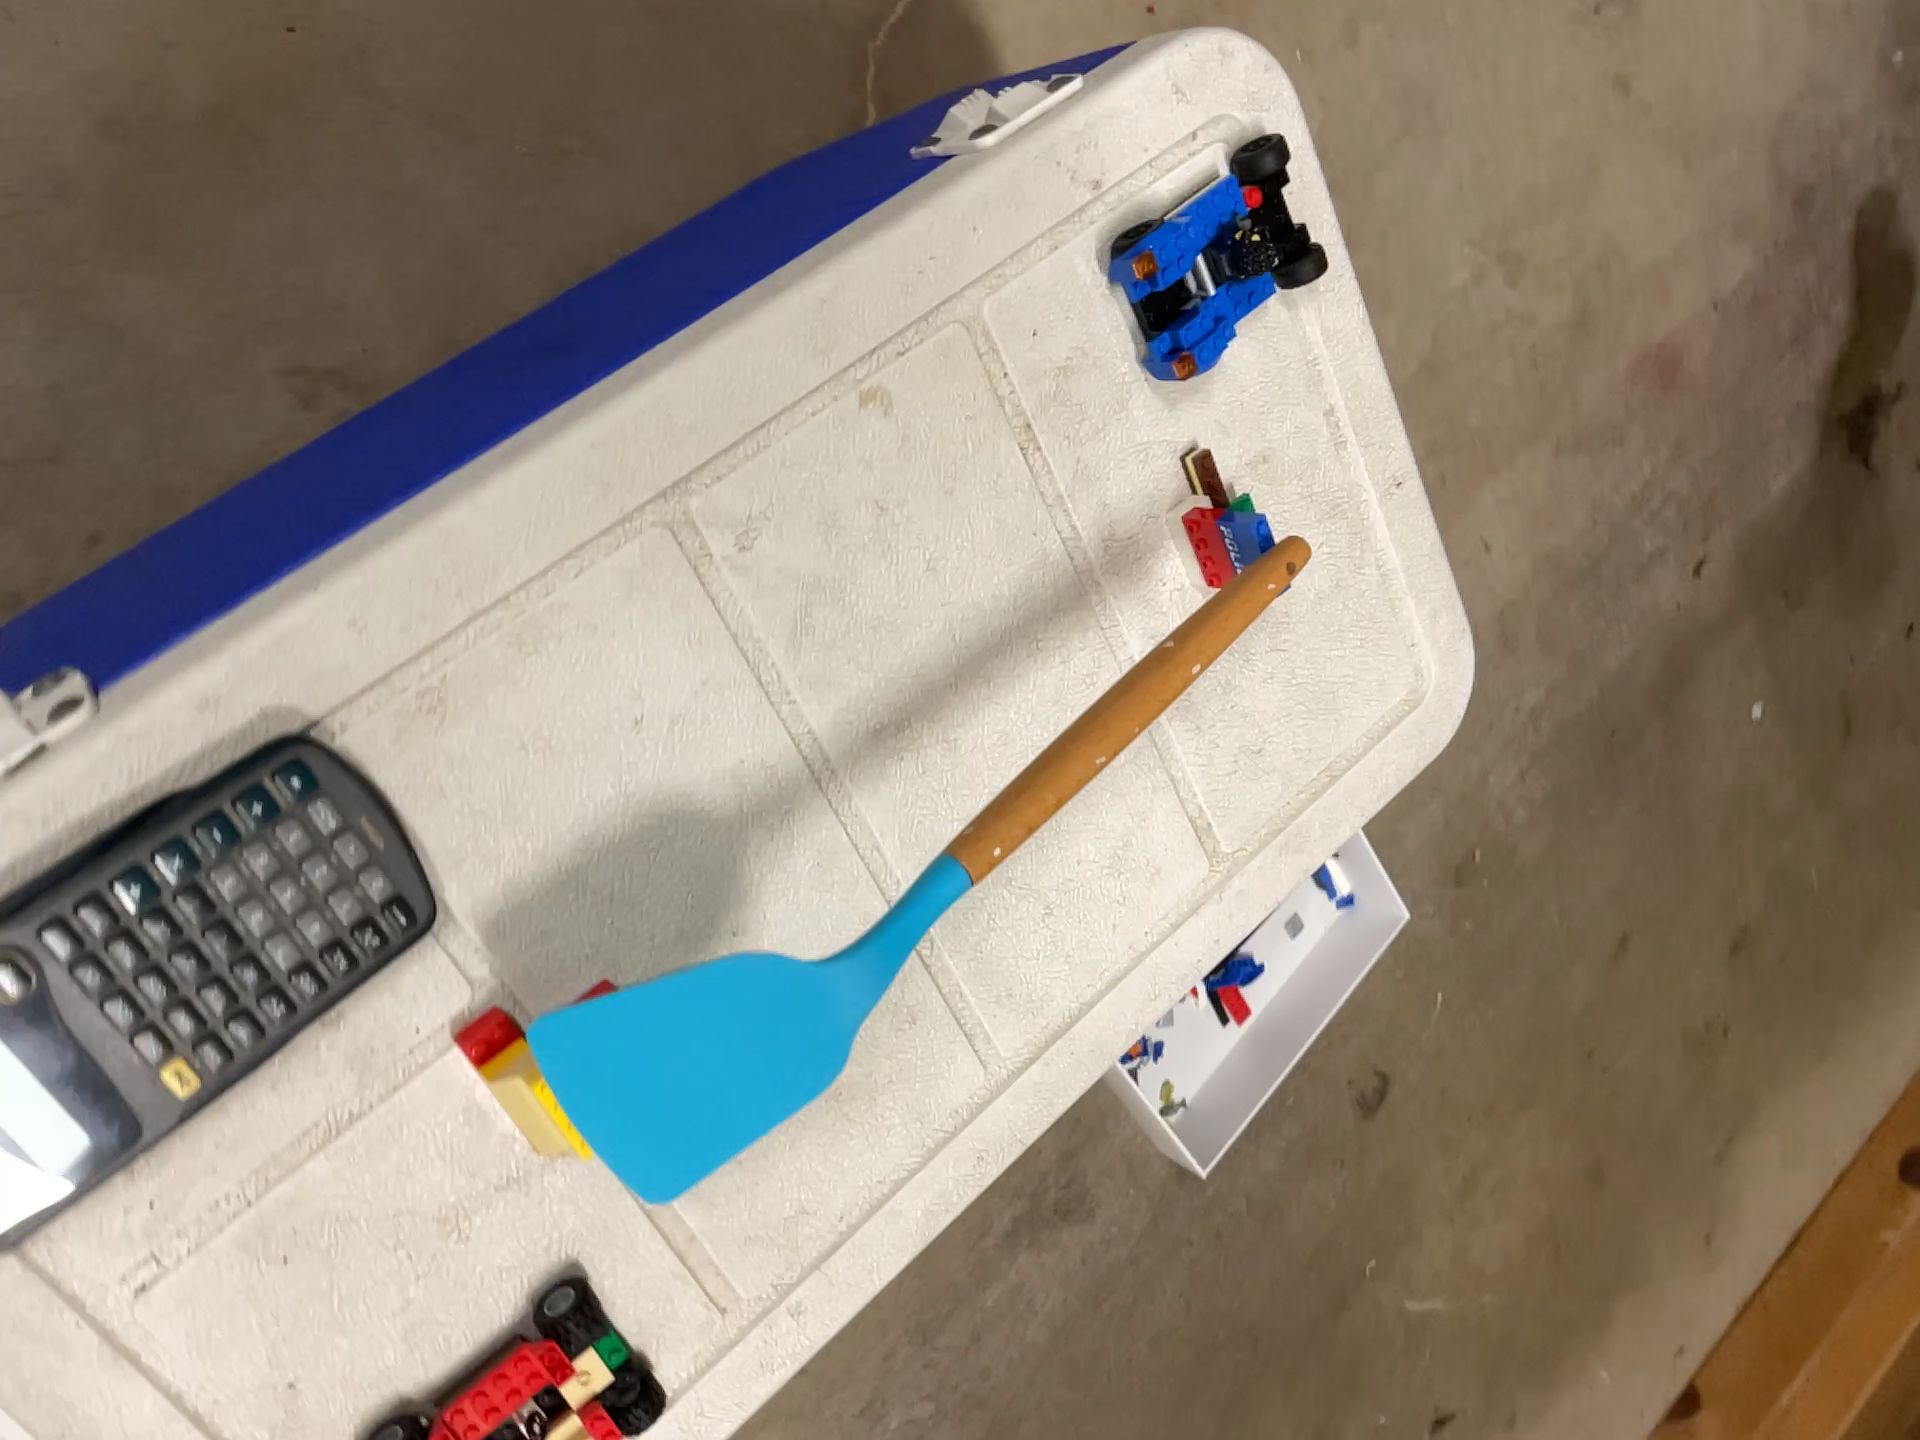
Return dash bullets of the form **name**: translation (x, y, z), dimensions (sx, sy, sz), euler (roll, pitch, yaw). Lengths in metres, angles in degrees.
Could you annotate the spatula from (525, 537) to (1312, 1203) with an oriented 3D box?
- **spatula**: translation (0.009, 0.030, 0.527), dimensions (0.318, 0.044, 0.082), euler (-41, 119, -25)
